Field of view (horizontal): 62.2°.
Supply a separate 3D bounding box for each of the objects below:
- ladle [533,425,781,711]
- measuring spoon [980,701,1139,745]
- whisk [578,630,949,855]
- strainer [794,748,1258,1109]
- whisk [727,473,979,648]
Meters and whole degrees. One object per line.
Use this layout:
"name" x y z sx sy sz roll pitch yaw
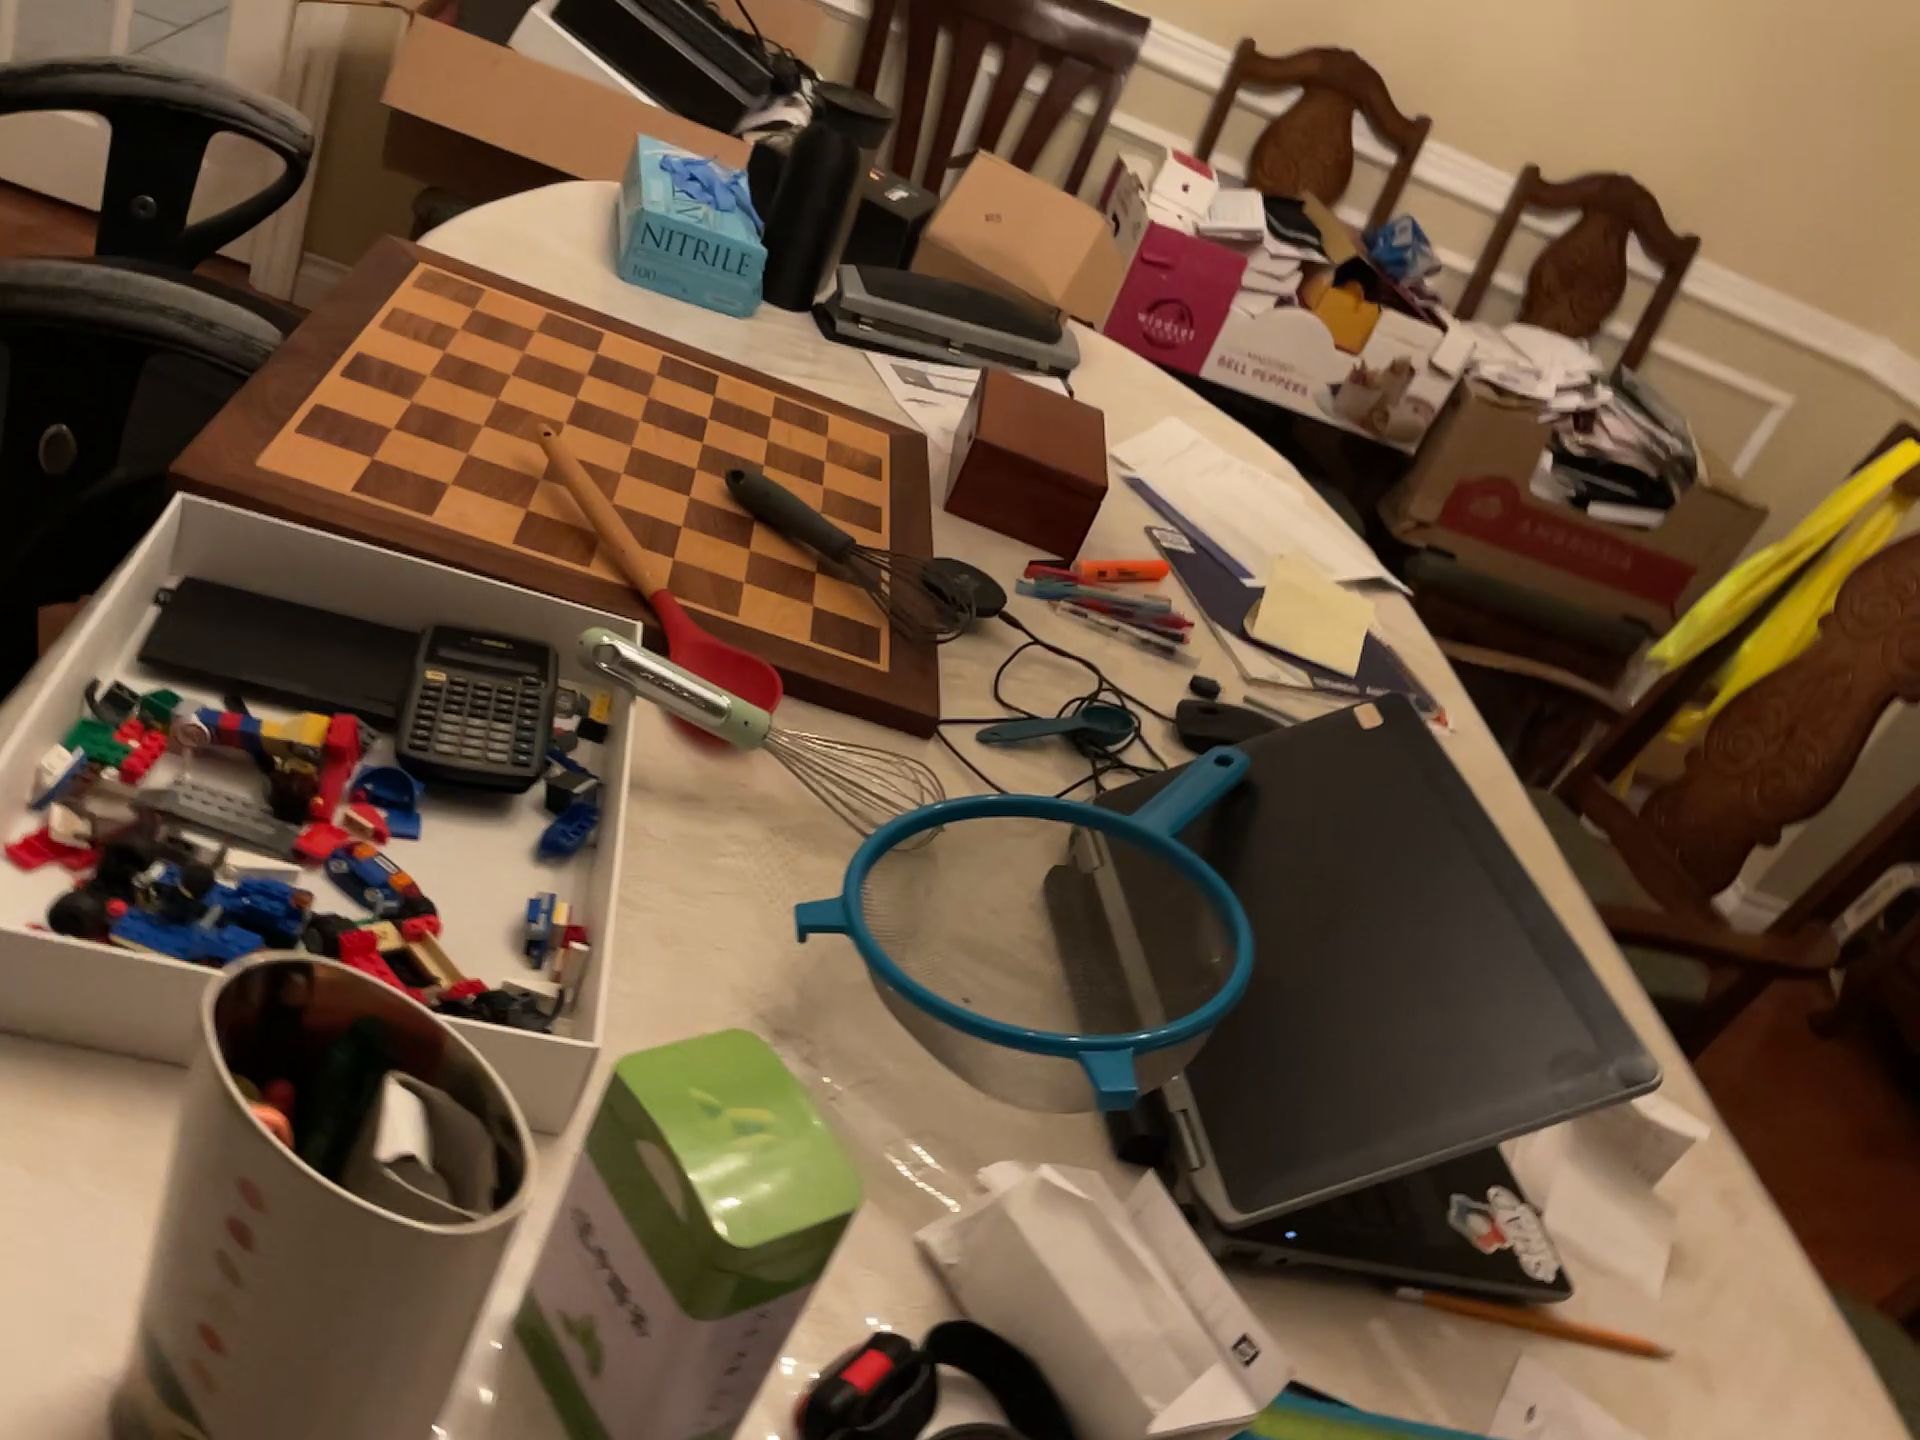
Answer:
"ladle" -0.211 -0.099 1.042 0.069 0.031 0.316 -23 56 -26
"measuring spoon" 0.069 0.011 1.123 0.128 0.021 0.042 -9 35 -28
"whisk" -0.106 0.013 0.910 0.246 0.058 0.059 29 -4 -23
"strainer" 0.075 0.110 0.872 0.211 0.095 0.340 24 31 25
"whisk" -0.082 -0.122 1.169 0.239 0.055 0.055 33 16 23
